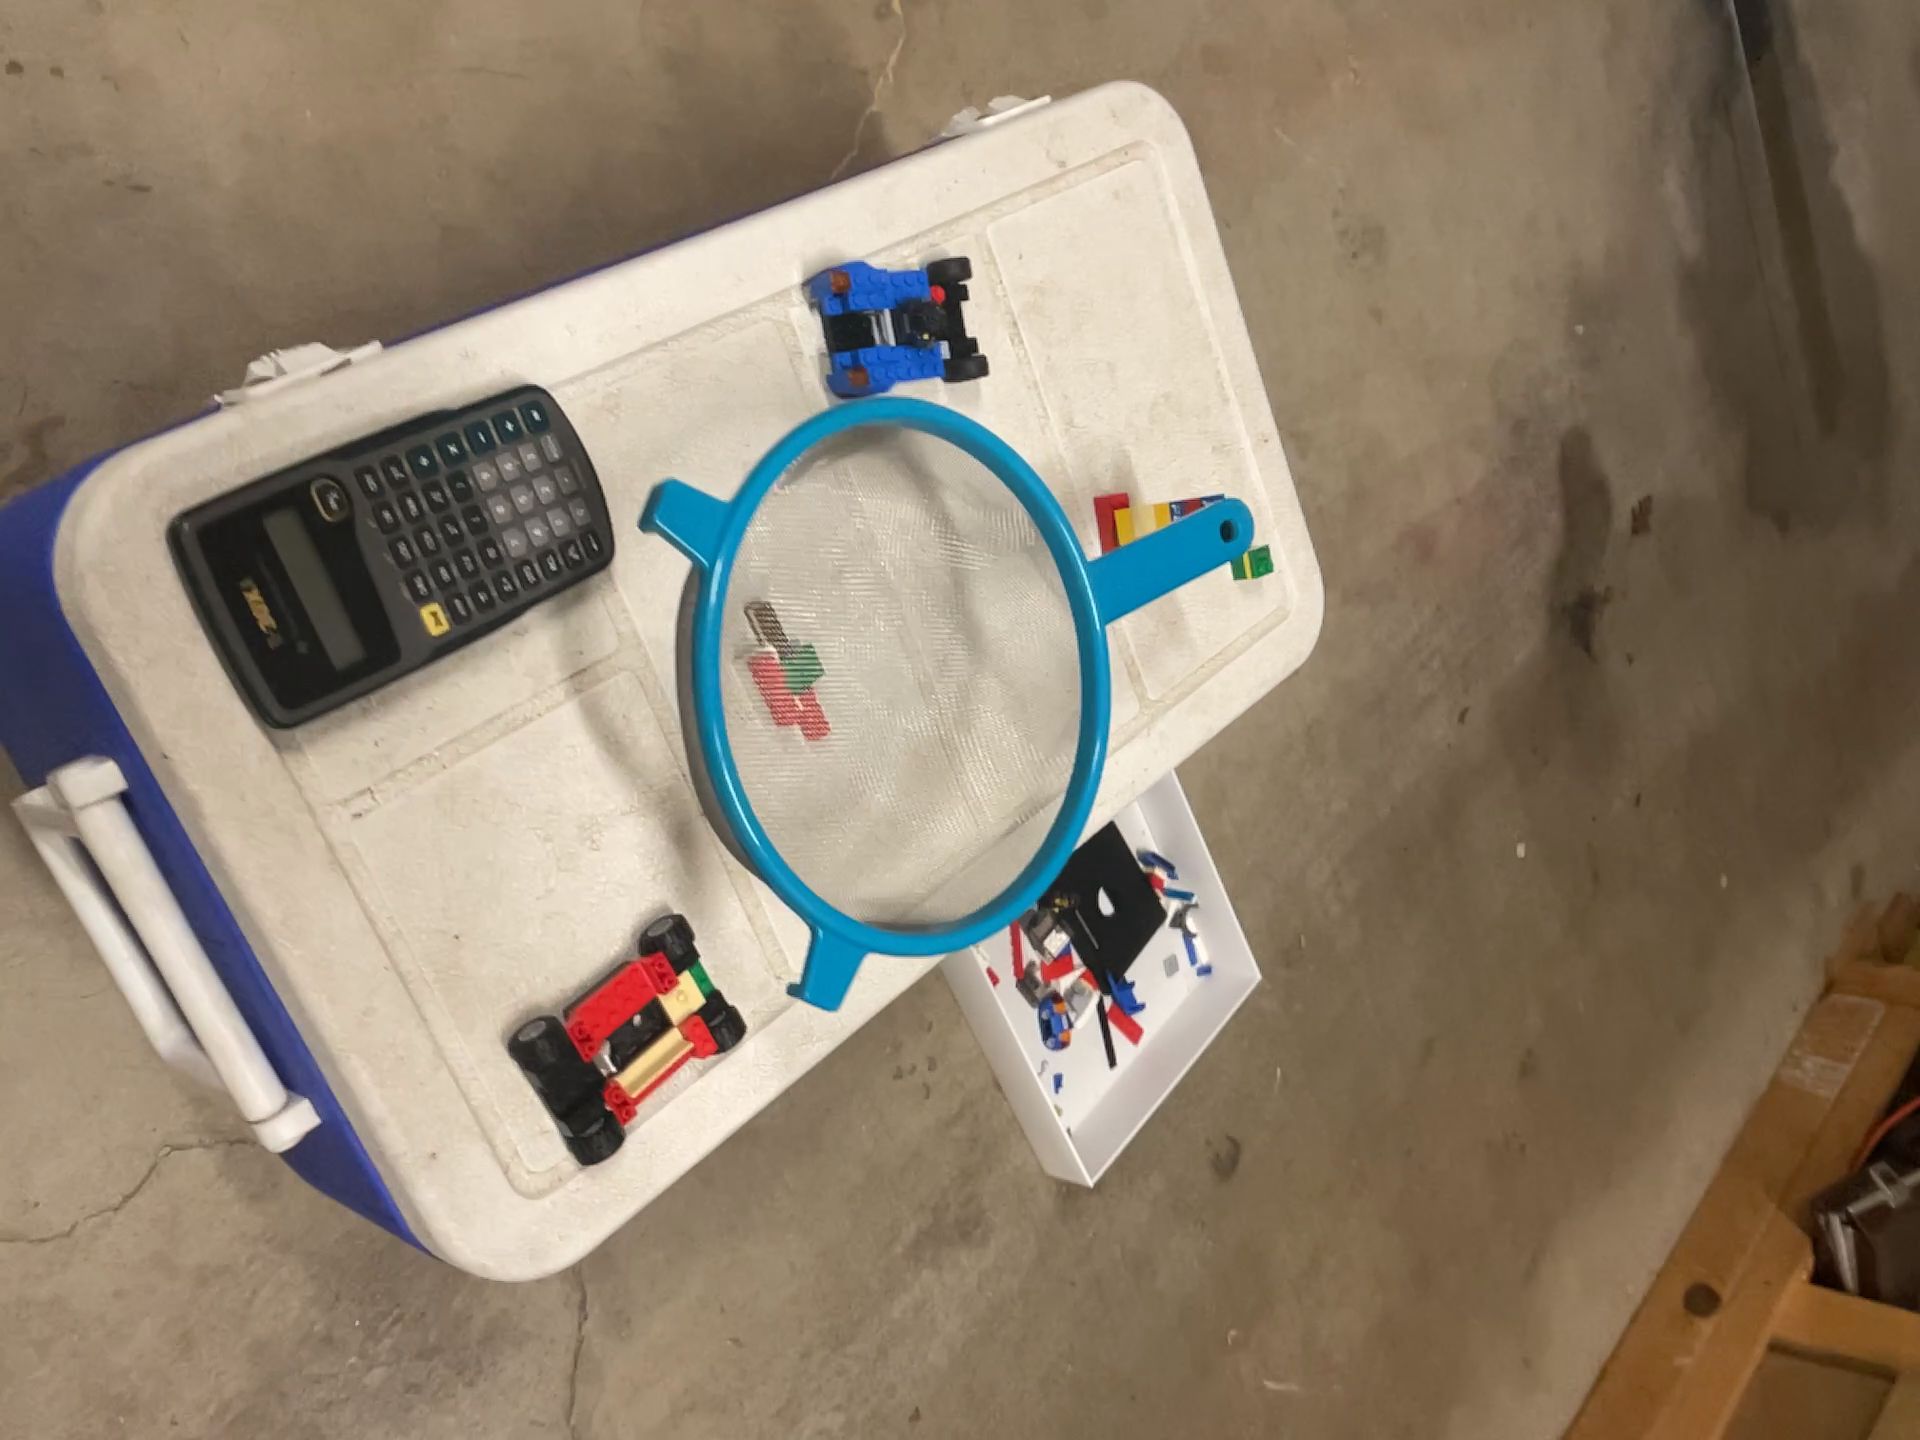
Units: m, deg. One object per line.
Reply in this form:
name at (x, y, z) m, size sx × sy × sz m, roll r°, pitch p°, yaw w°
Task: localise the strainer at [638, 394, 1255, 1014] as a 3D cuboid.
strainer at (0.000, -0.037, 0.671) m, size 0.340 × 0.095 × 0.210 m, roll -28°, pitch 107°, yaw -44°
